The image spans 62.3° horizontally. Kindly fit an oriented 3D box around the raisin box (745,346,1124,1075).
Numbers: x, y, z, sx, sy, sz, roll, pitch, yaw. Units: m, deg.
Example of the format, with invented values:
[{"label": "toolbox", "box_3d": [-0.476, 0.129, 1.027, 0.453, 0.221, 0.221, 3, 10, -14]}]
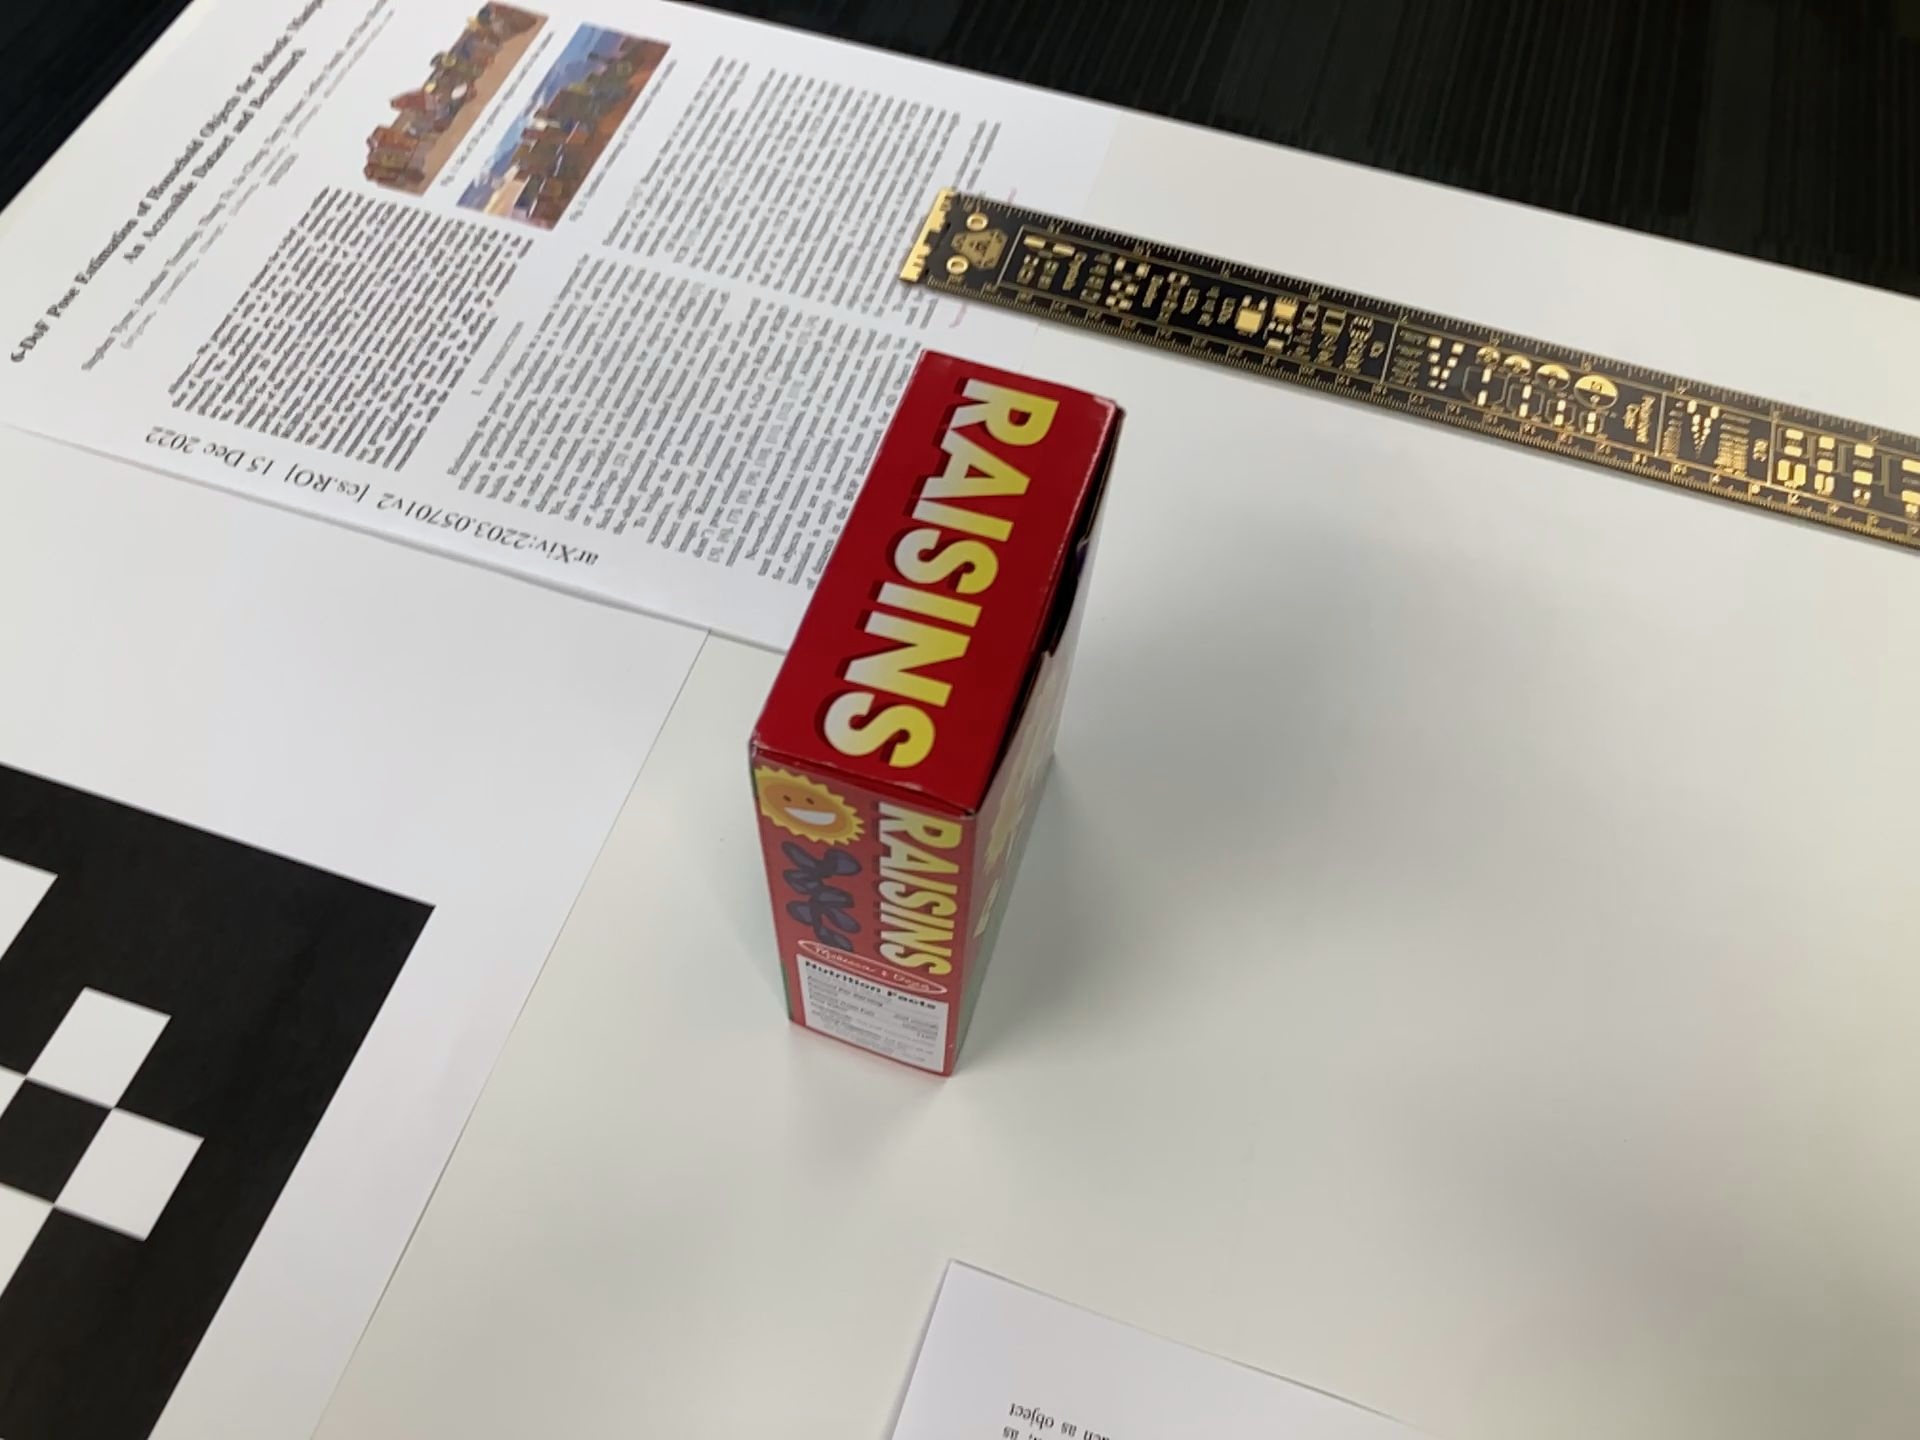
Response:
[{"label": "raisin box", "box_3d": [-0.004, 0.005, 0.301, 0.040, 0.123, 0.086, 17, 60, 7]}]
